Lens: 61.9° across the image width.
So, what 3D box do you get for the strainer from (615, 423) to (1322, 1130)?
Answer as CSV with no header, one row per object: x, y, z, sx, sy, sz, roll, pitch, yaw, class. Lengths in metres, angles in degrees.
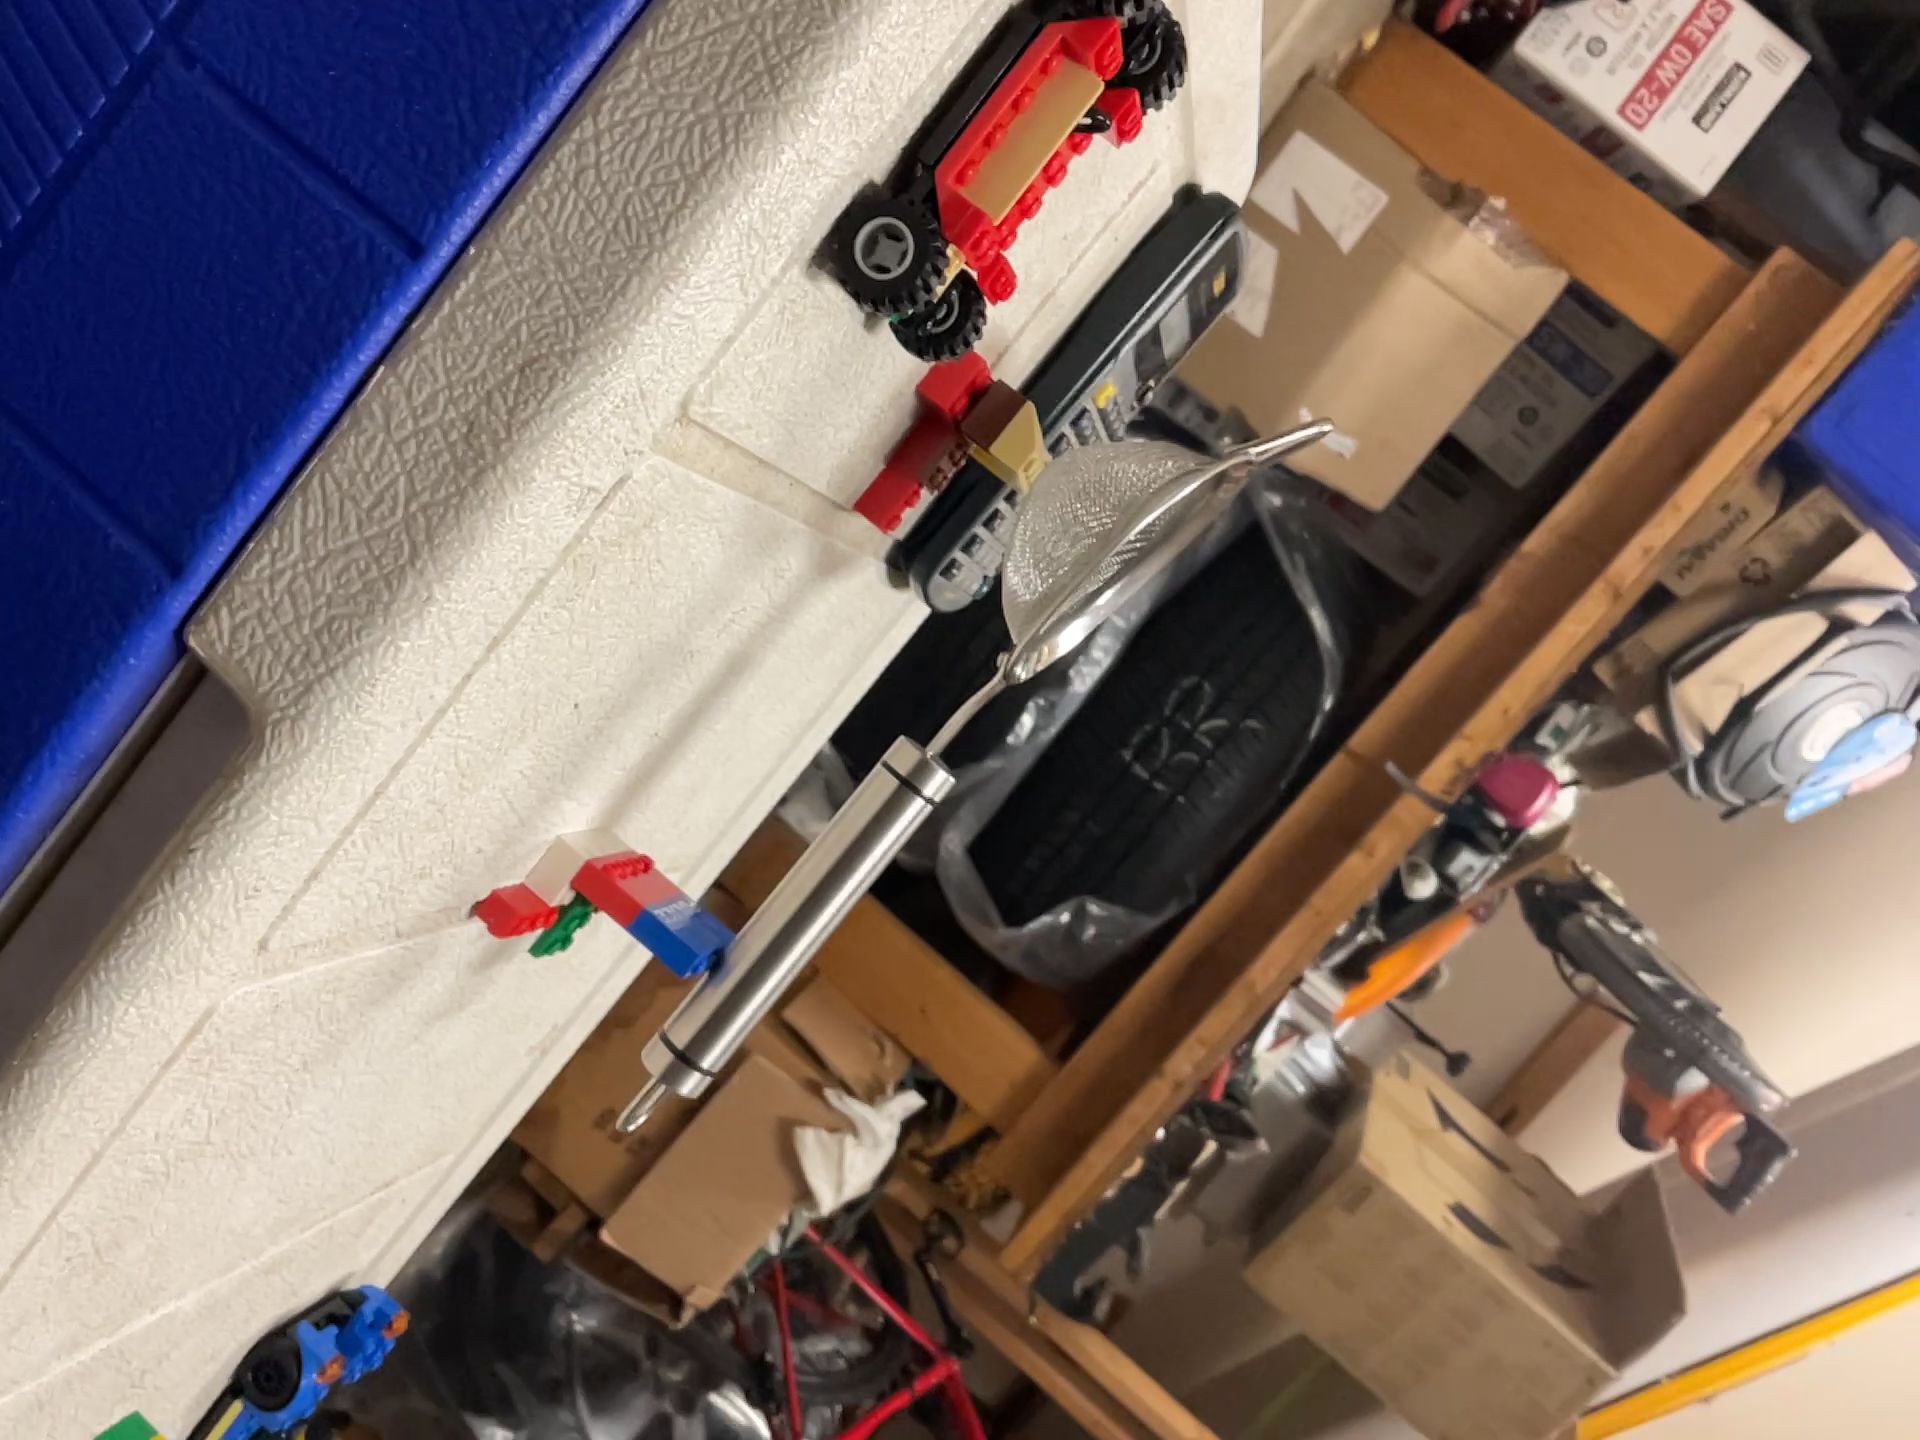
-0.008,0.008,0.419,0.258,0.050,0.087,-50,171,1,strainer
